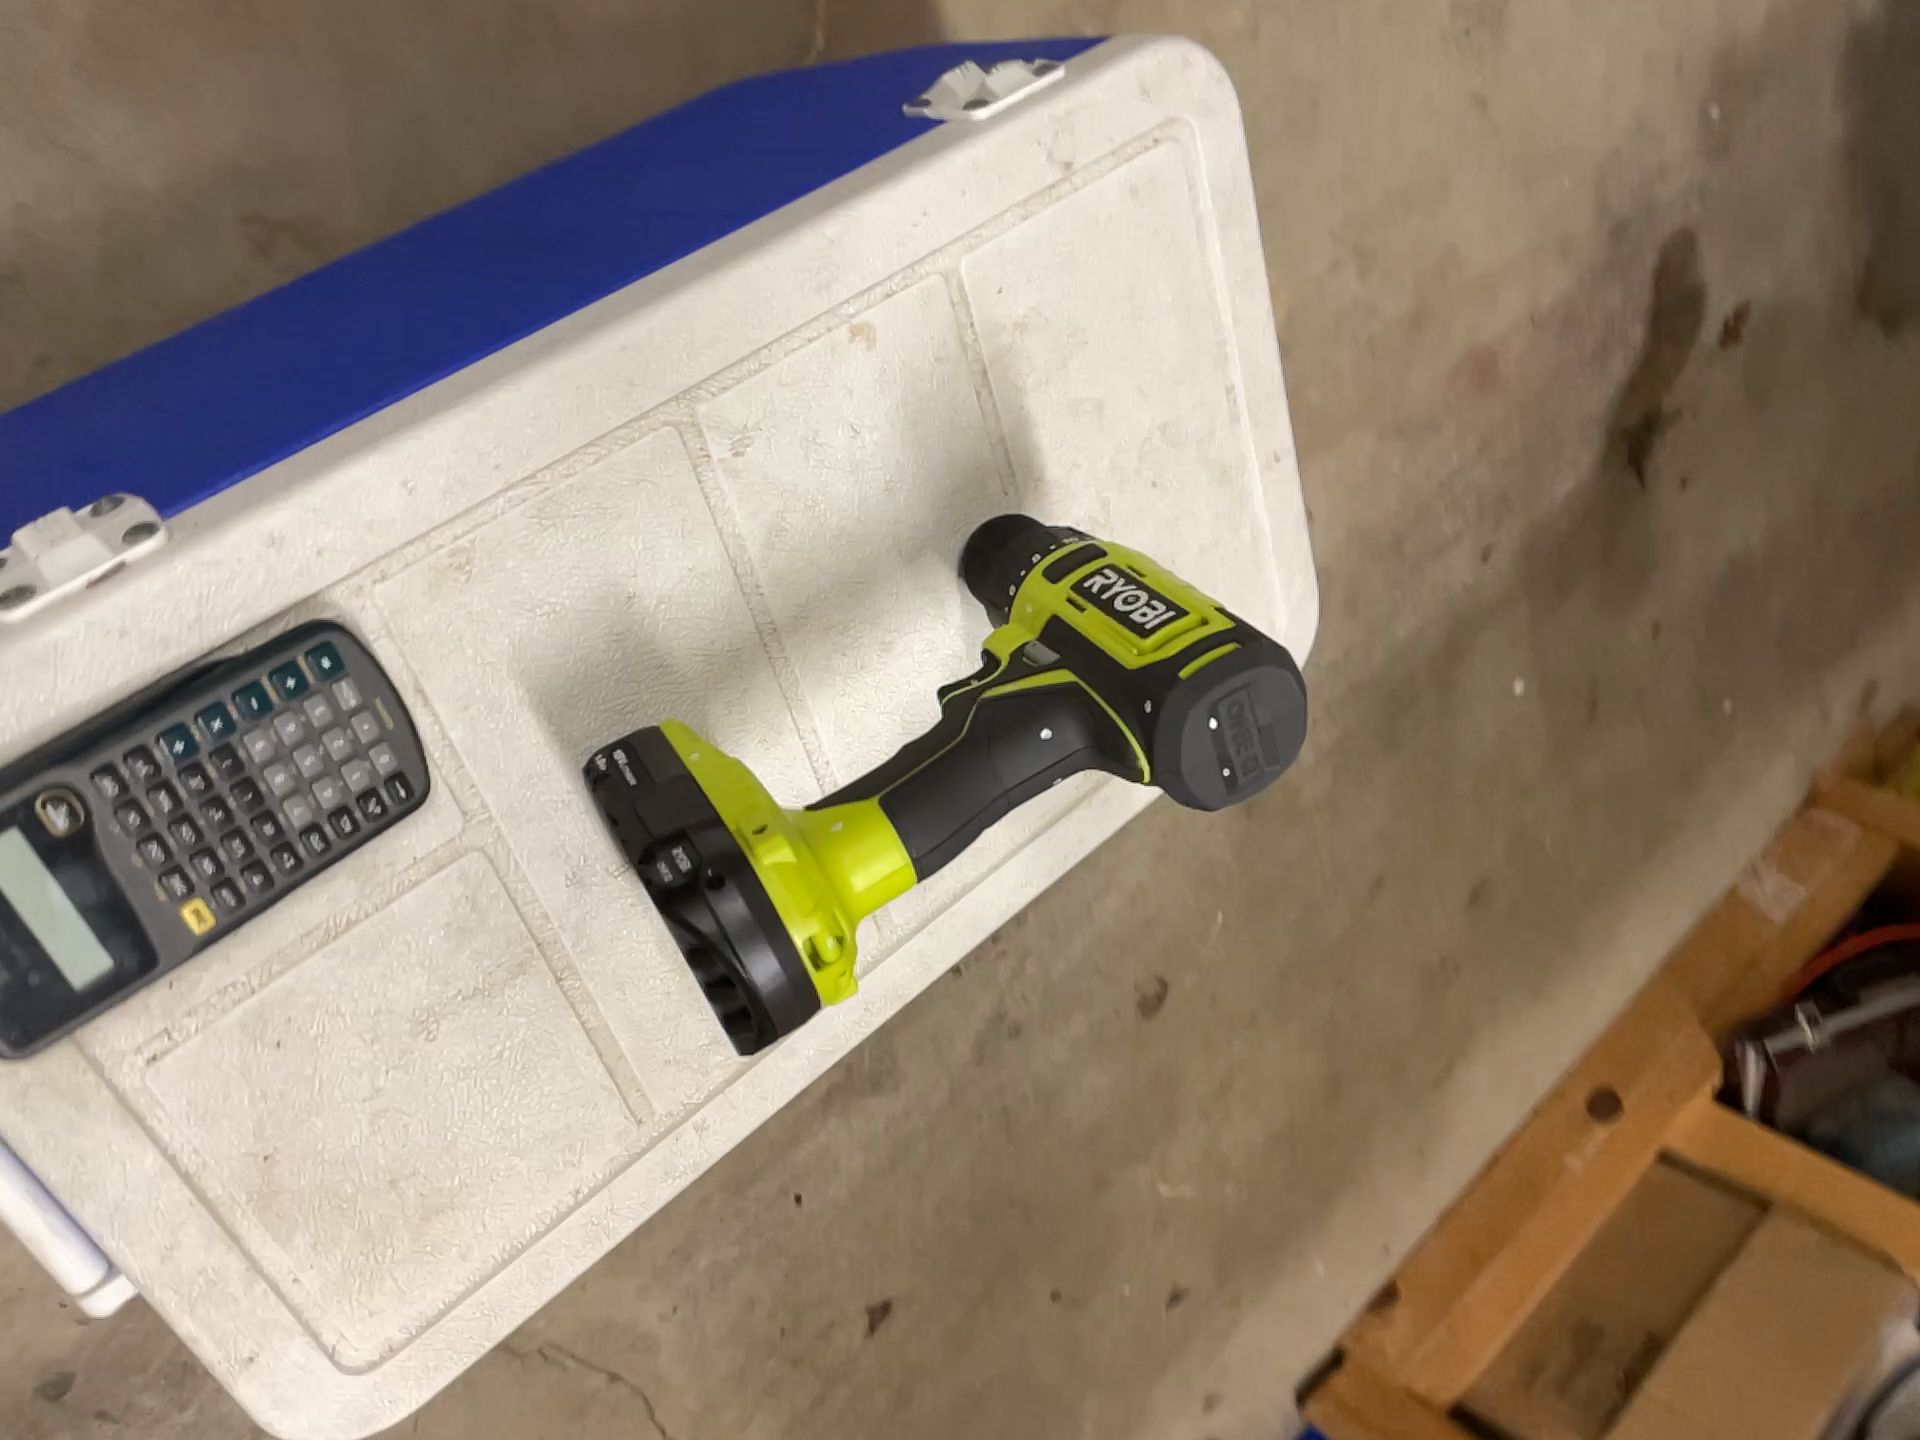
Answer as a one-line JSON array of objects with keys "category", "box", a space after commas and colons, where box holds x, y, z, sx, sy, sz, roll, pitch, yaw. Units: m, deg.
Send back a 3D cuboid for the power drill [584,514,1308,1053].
[{"category": "power drill", "box": [-0.014, 0.004, 0.591, 0.229, 0.190, 0.080, -29, 125, -12]}]
